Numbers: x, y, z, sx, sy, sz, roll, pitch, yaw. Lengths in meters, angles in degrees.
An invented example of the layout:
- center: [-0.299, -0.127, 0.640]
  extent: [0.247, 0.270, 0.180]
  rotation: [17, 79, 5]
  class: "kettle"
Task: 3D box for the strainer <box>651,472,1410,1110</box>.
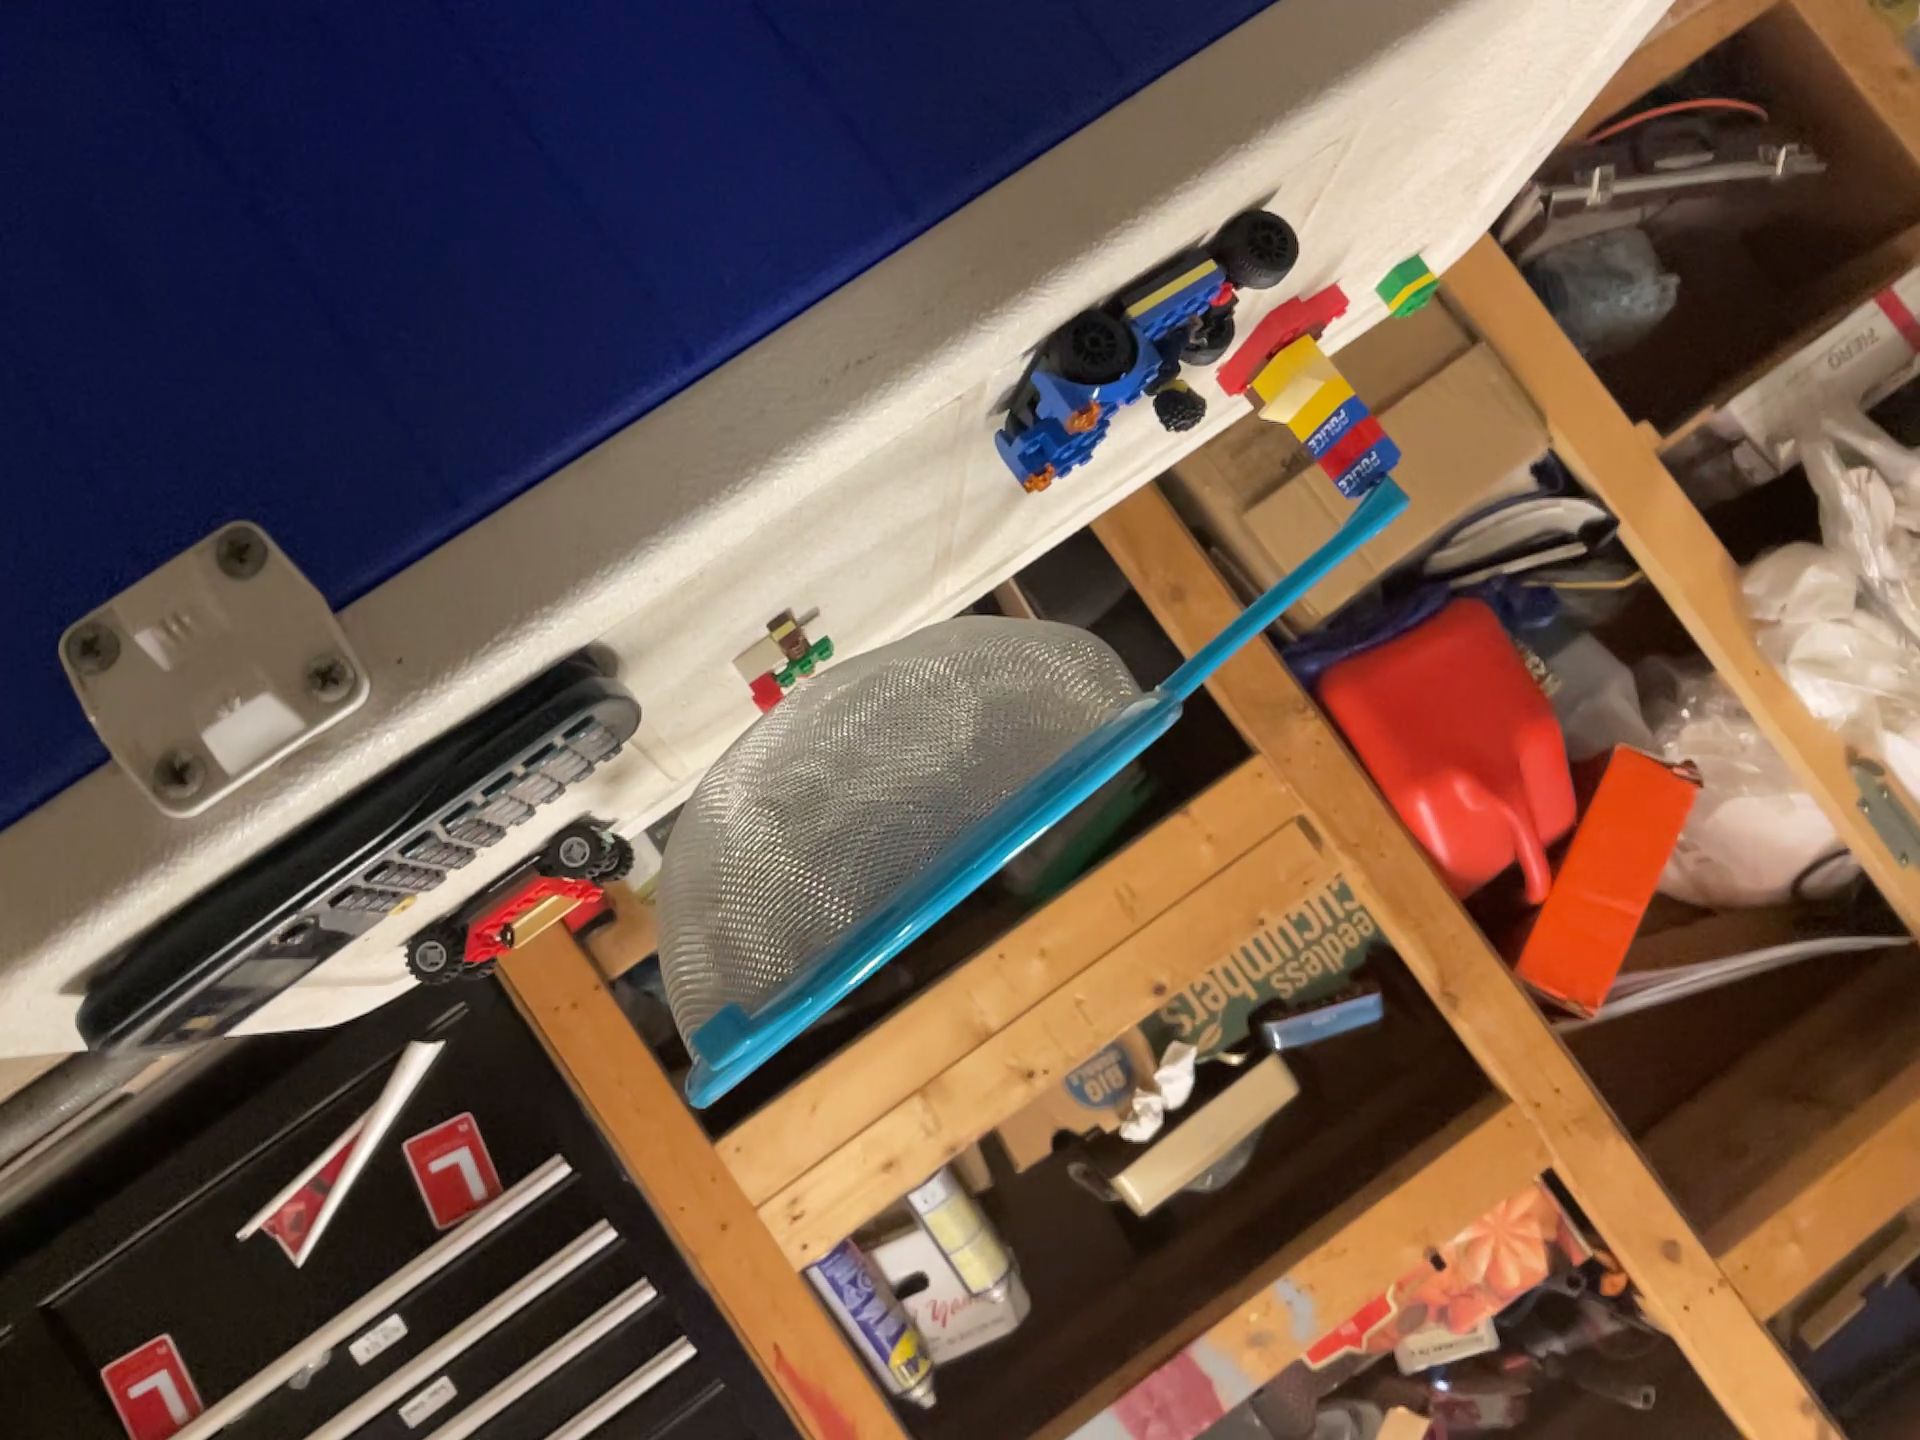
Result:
- center: [0.016, -0.010, 0.561]
  extent: [0.340, 0.095, 0.211]
  rotation: [-40, 175, -16]
  class: "strainer"
